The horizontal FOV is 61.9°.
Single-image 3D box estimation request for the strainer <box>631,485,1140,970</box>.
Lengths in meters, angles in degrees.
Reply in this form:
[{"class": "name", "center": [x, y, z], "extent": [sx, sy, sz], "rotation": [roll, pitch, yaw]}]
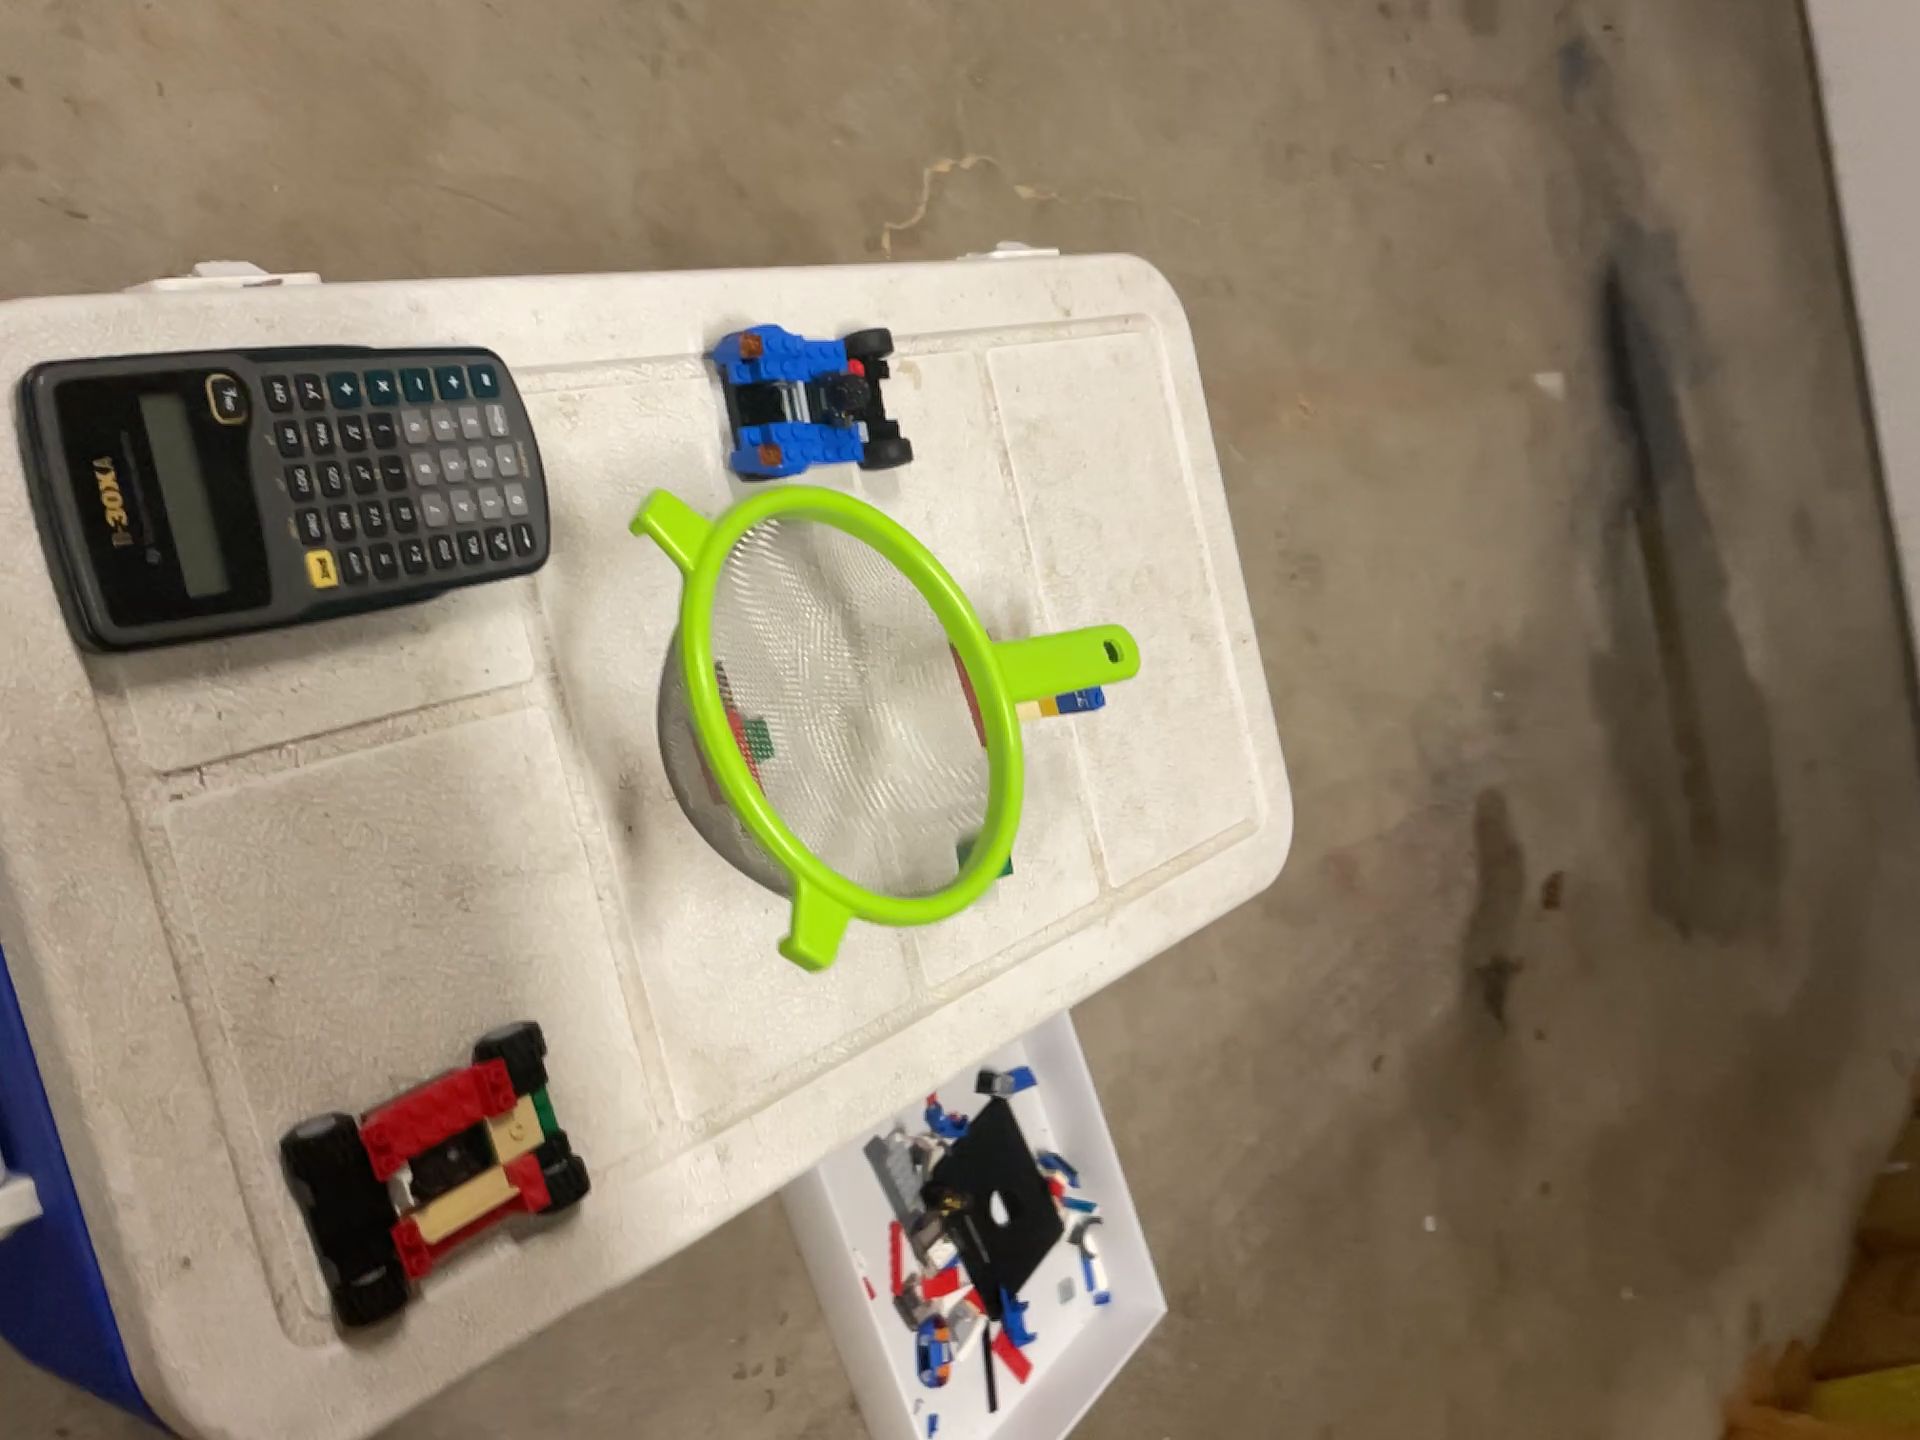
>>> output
[{"class": "strainer", "center": [-0.021, -0.004, 0.580], "extent": [0.257, 0.069, 0.151], "rotation": [-13, 80, -55]}]
